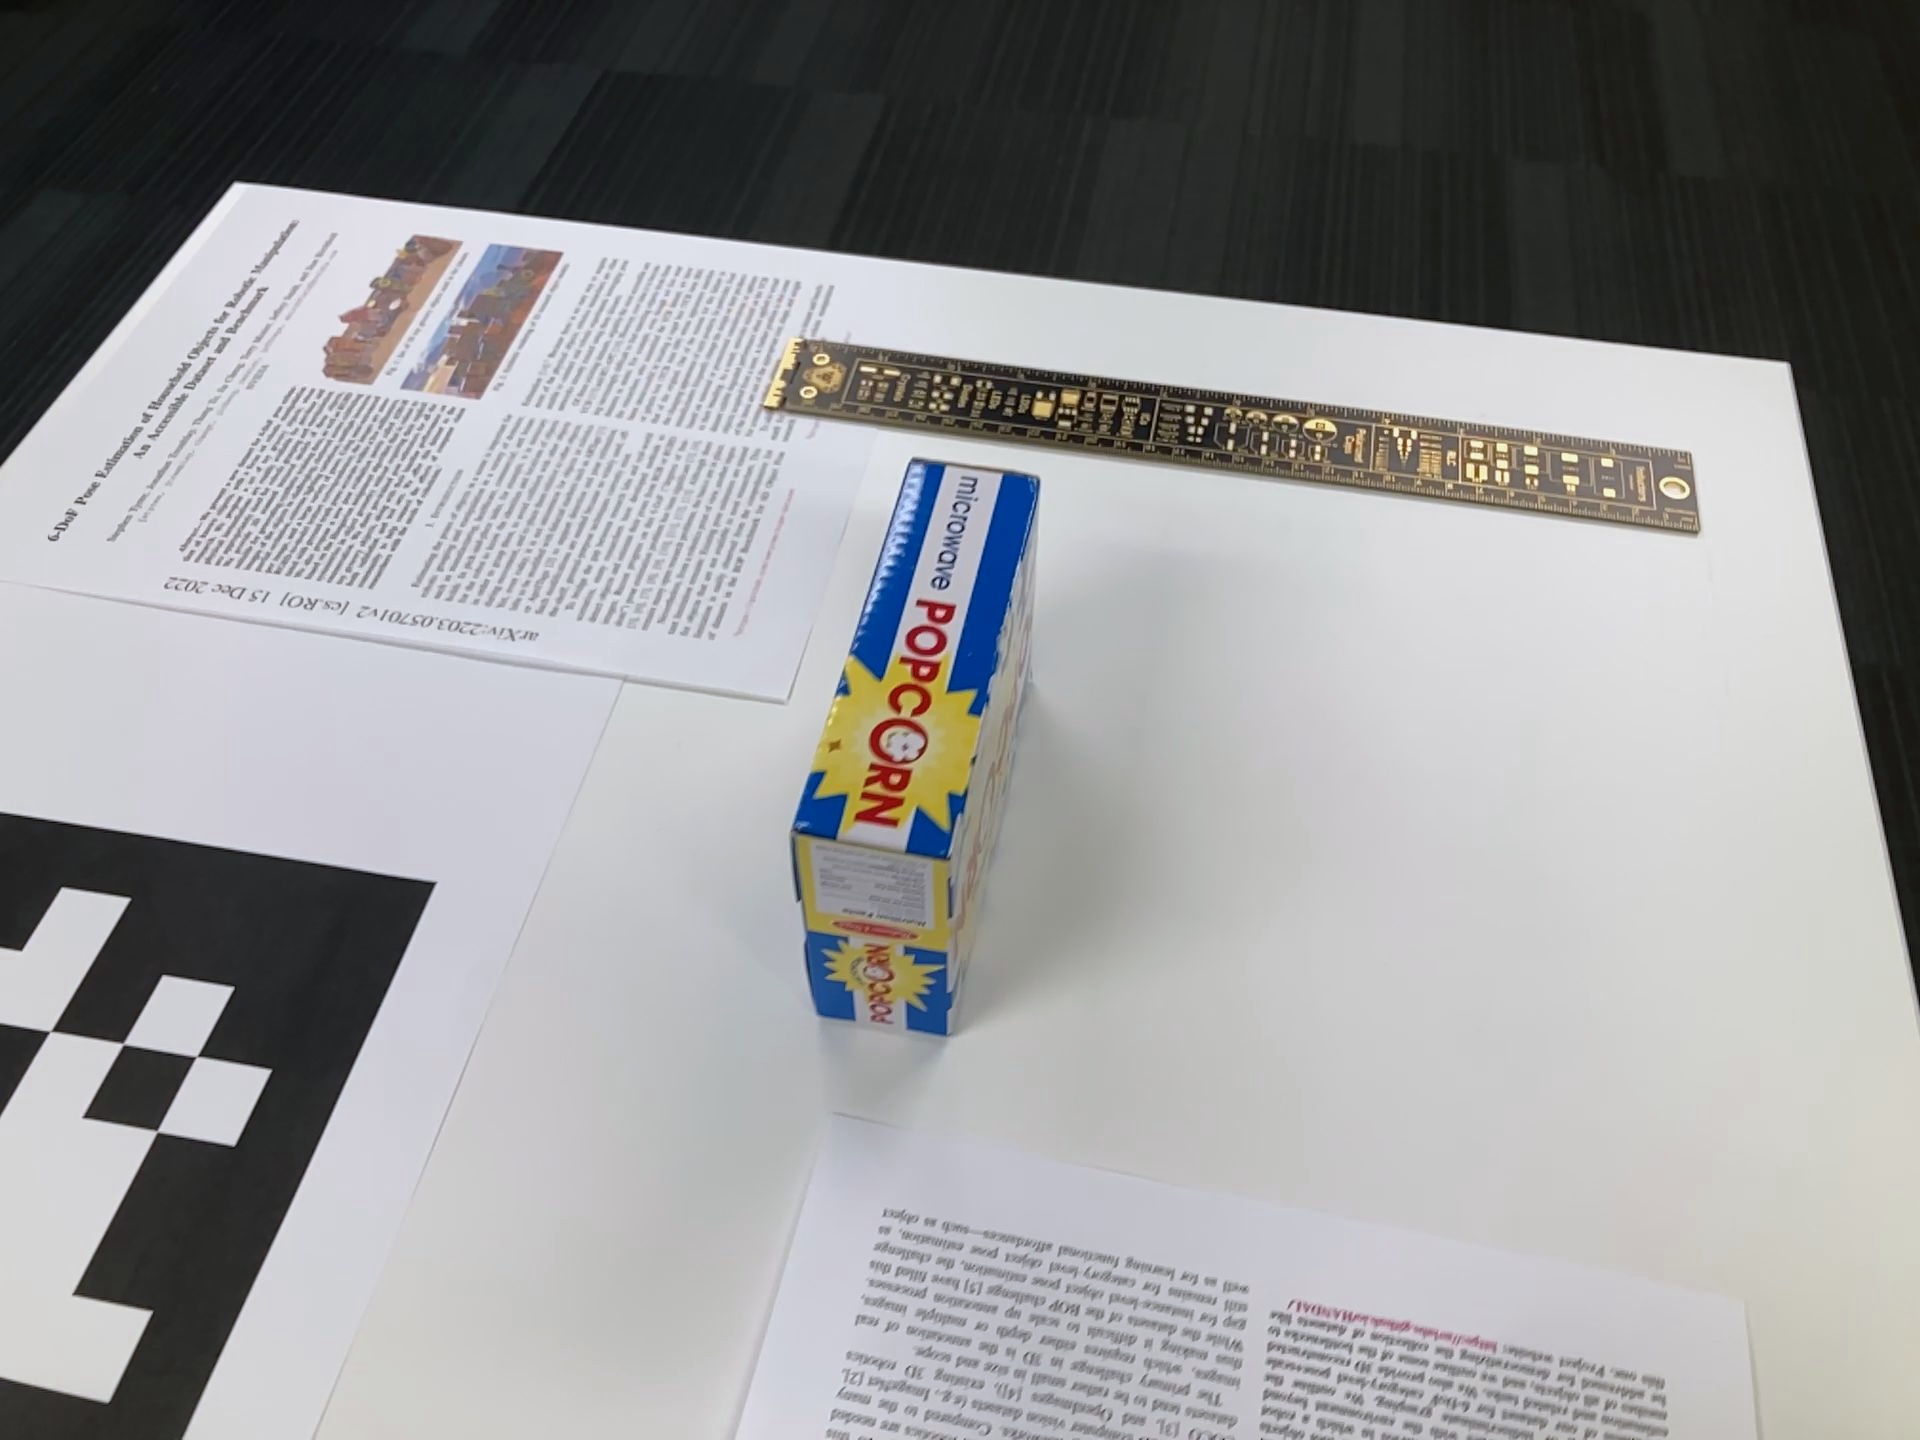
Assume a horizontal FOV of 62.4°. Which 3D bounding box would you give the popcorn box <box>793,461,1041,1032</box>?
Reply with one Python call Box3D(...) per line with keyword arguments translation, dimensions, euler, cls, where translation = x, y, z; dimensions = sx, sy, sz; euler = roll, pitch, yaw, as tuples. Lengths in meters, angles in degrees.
Box3D(translation=(-0.008, 0.005, 0.417), dimensions=(0.038, 0.085, 0.126), euler=(9, 52, 6), cls="popcorn box")
